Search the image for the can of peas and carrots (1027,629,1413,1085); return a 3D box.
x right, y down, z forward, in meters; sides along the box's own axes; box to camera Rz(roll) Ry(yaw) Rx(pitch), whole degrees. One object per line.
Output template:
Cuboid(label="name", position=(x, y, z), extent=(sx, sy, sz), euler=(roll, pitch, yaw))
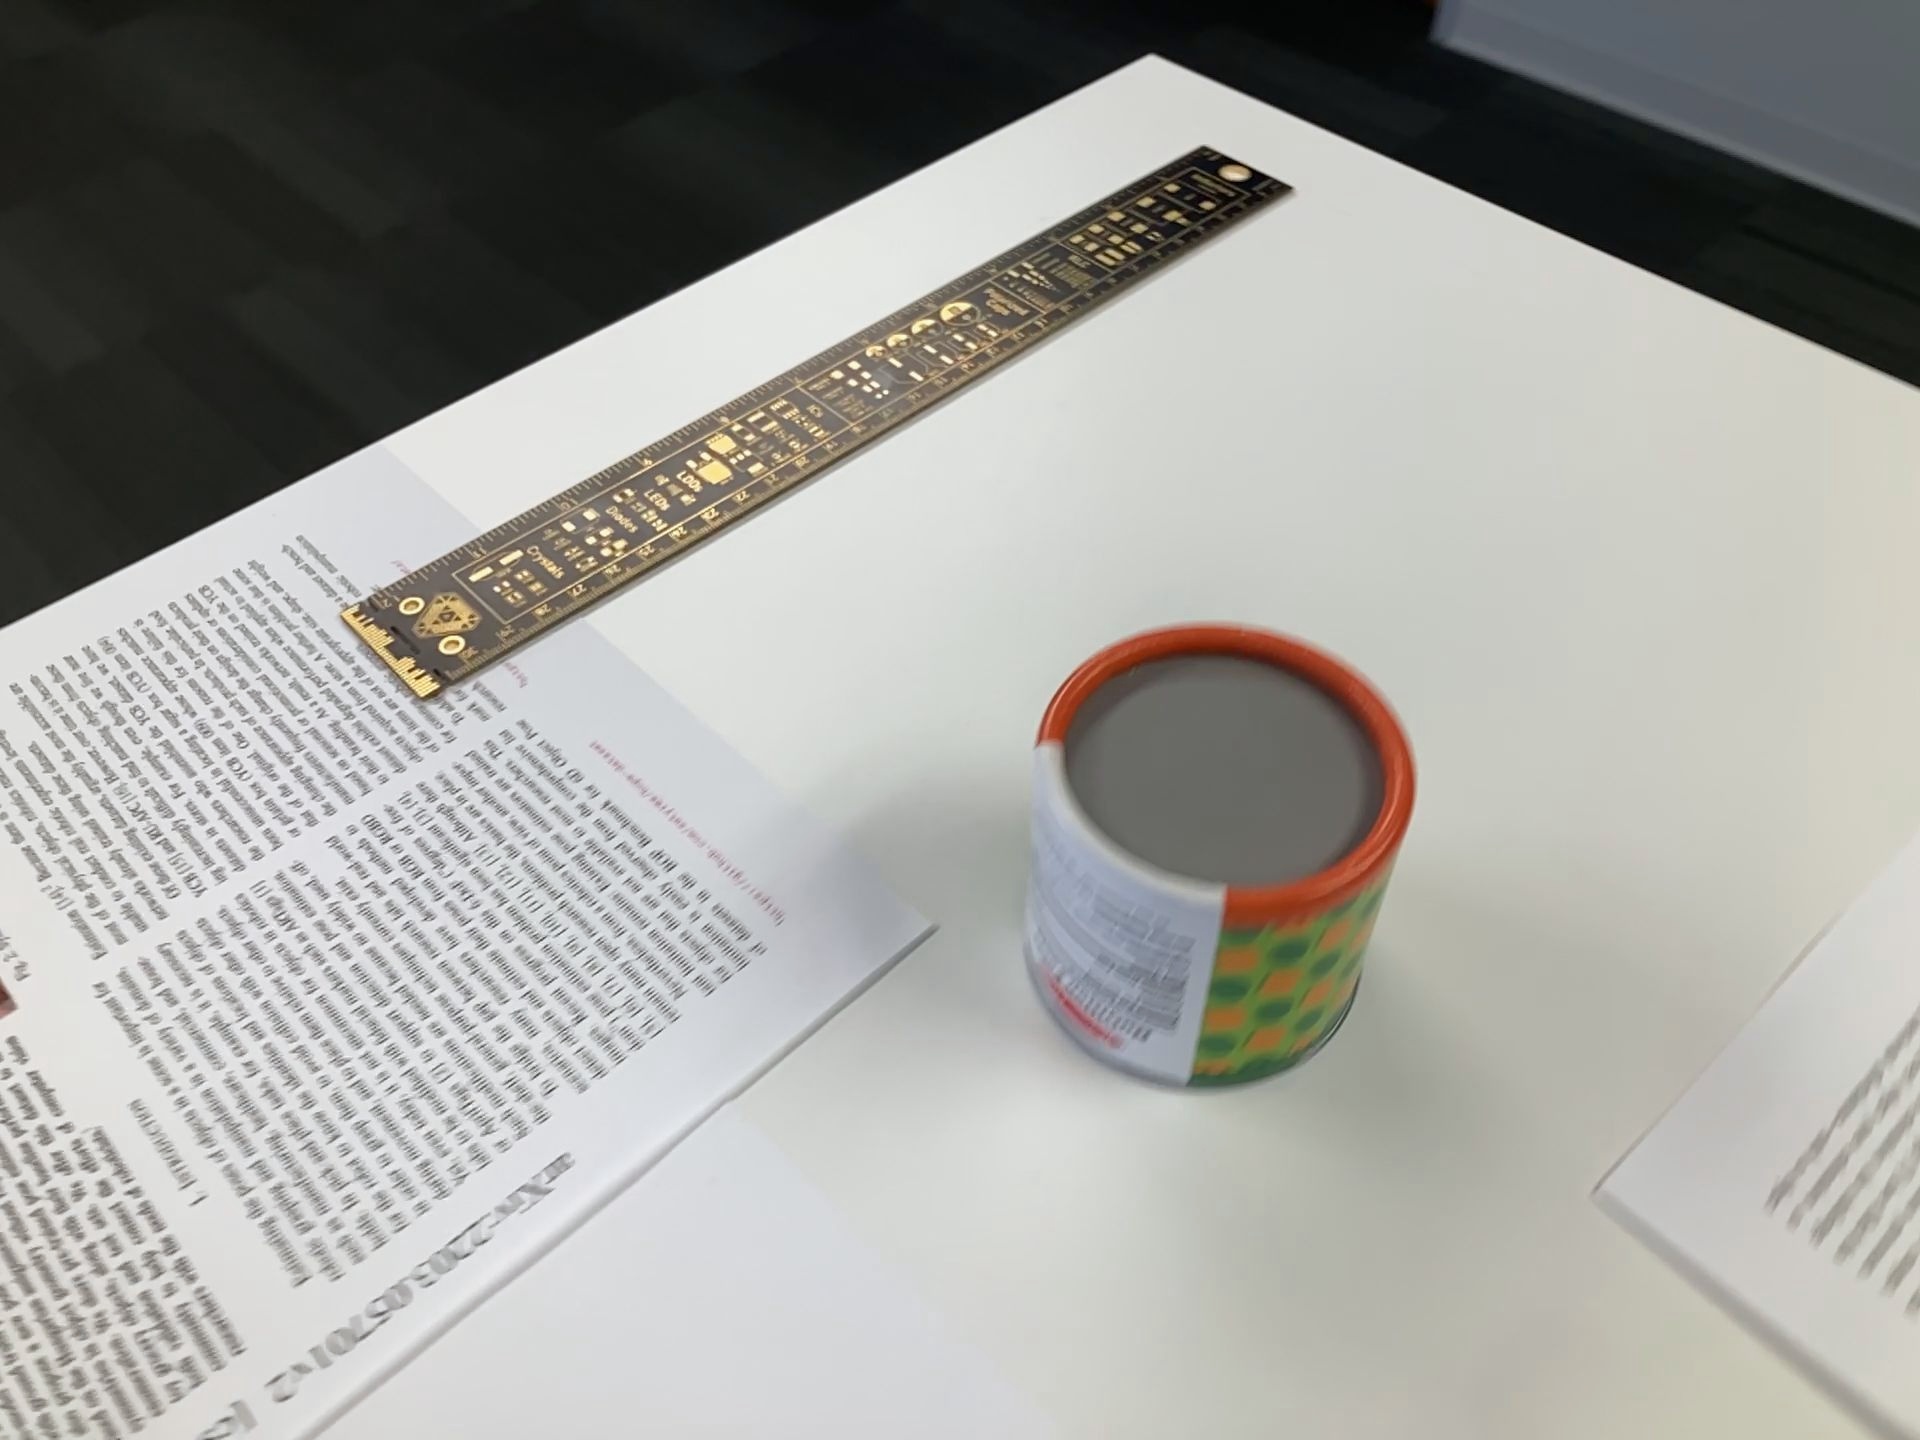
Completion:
Cuboid(label="can of peas and carrots", position=(0.048, 0.024, 0.301), extent=(0.071, 0.059, 0.071), euler=(0, 49, 0))
